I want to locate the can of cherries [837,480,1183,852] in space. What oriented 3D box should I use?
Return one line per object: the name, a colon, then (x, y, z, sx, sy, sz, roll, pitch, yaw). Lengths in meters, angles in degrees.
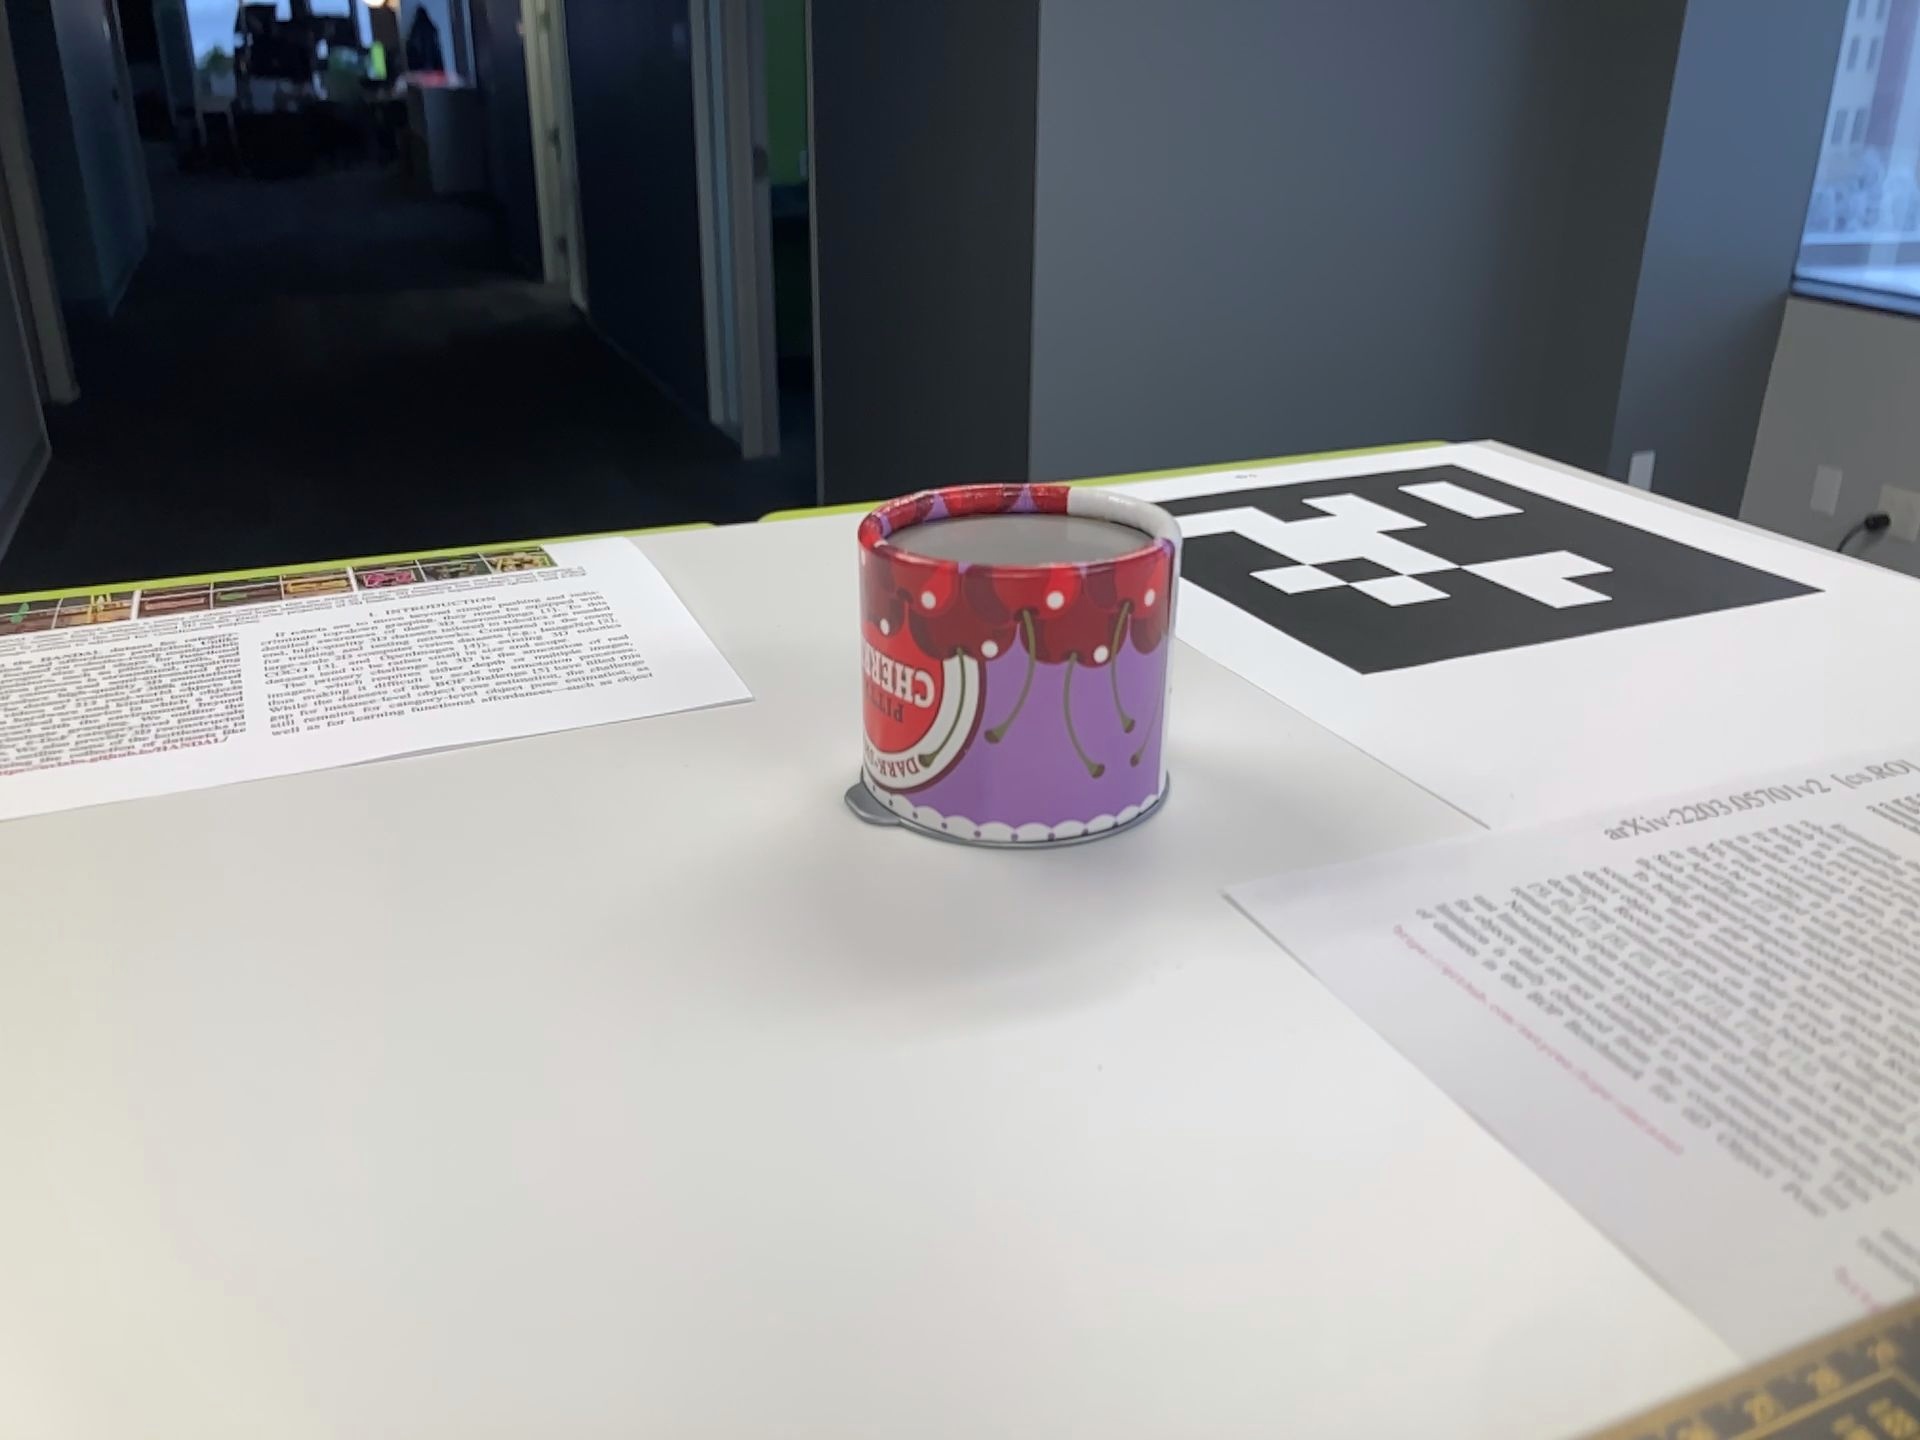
can of cherries: (0.009, -0.013, 0.325, 0.071, 0.058, 0.071, 0, 24, 0)
